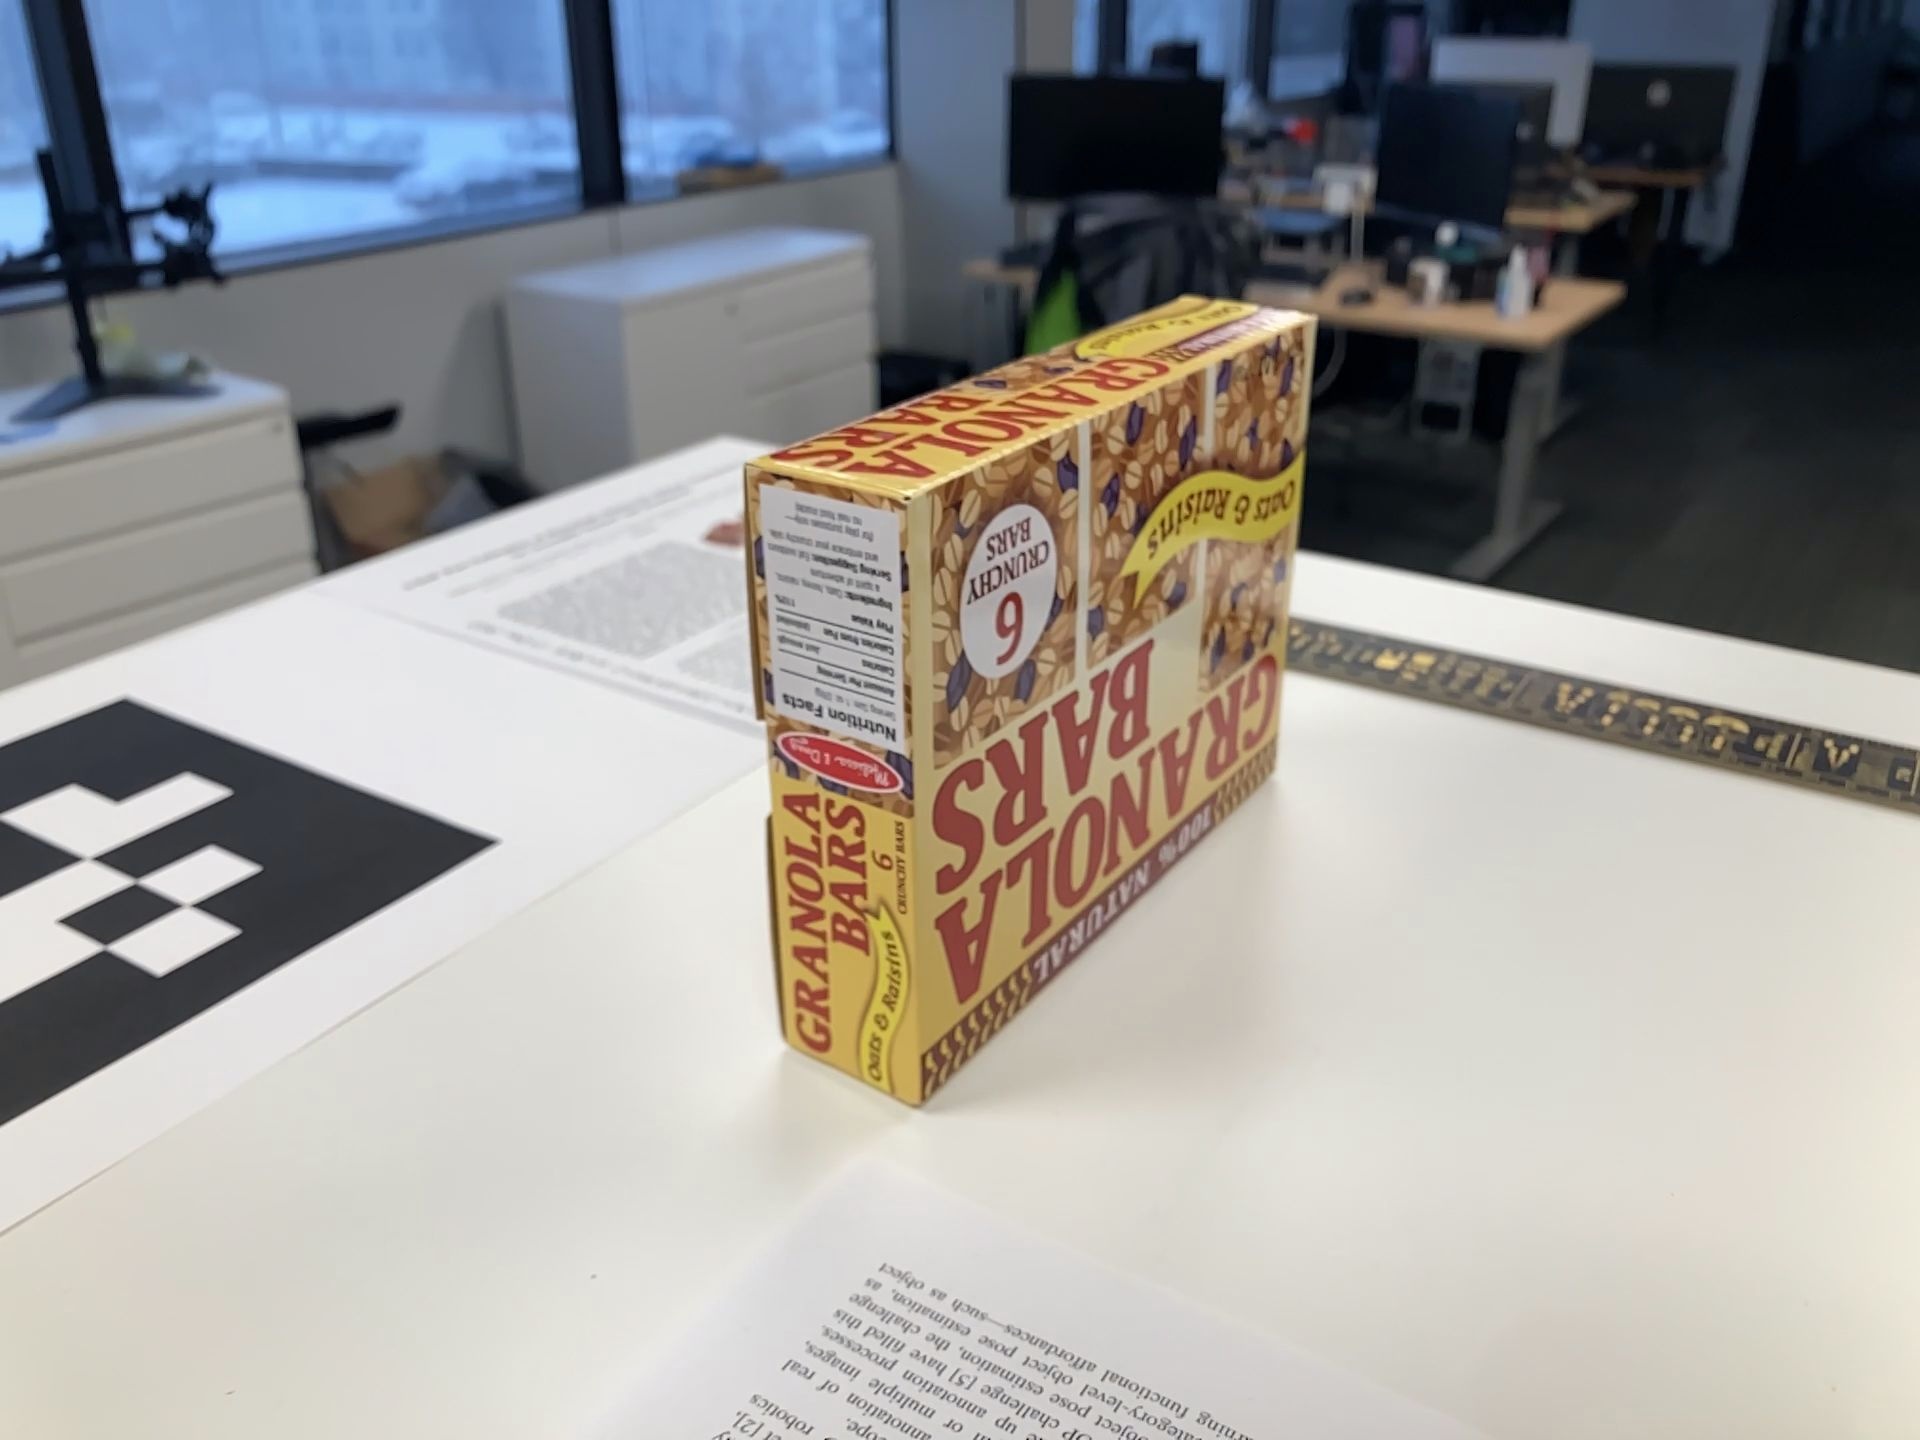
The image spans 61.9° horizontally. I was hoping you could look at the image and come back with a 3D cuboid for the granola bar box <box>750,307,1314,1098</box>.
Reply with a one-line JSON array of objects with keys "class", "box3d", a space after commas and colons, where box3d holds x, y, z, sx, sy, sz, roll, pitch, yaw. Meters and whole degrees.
[{"class": "granola bar box", "box3d": [0.023, -0.015, 0.355, 0.039, 0.124, 0.165, 16, 29, 31]}]
